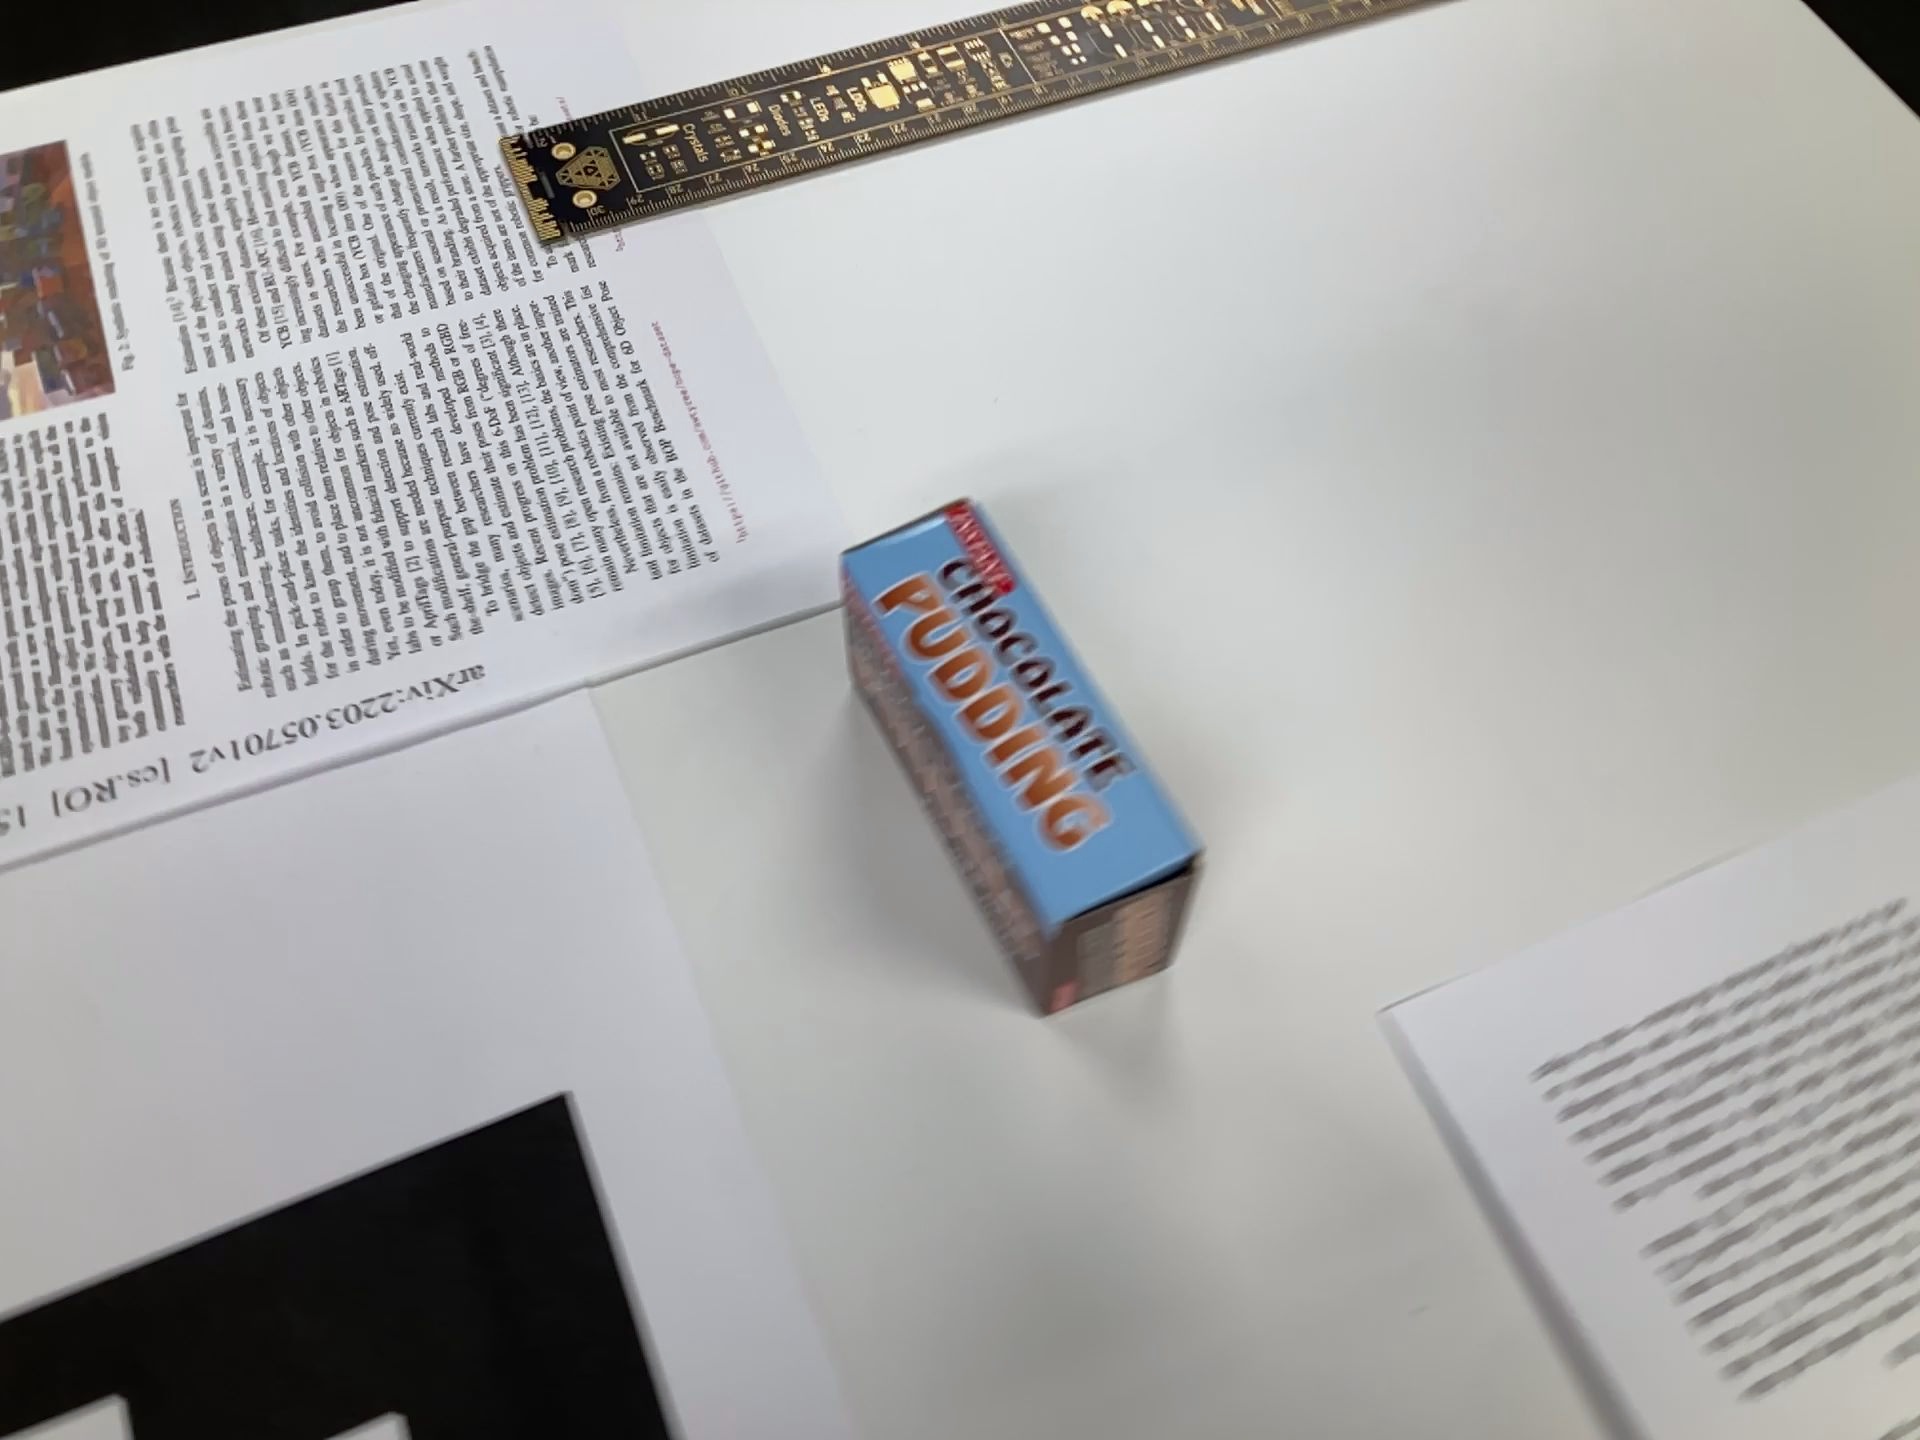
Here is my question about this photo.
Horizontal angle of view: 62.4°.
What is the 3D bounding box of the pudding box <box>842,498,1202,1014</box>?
[{"bbox_3d":[0.009,0.006,0.294,0.030,0.049,0.083,-24,65,-13],"label":"pudding box"}]
